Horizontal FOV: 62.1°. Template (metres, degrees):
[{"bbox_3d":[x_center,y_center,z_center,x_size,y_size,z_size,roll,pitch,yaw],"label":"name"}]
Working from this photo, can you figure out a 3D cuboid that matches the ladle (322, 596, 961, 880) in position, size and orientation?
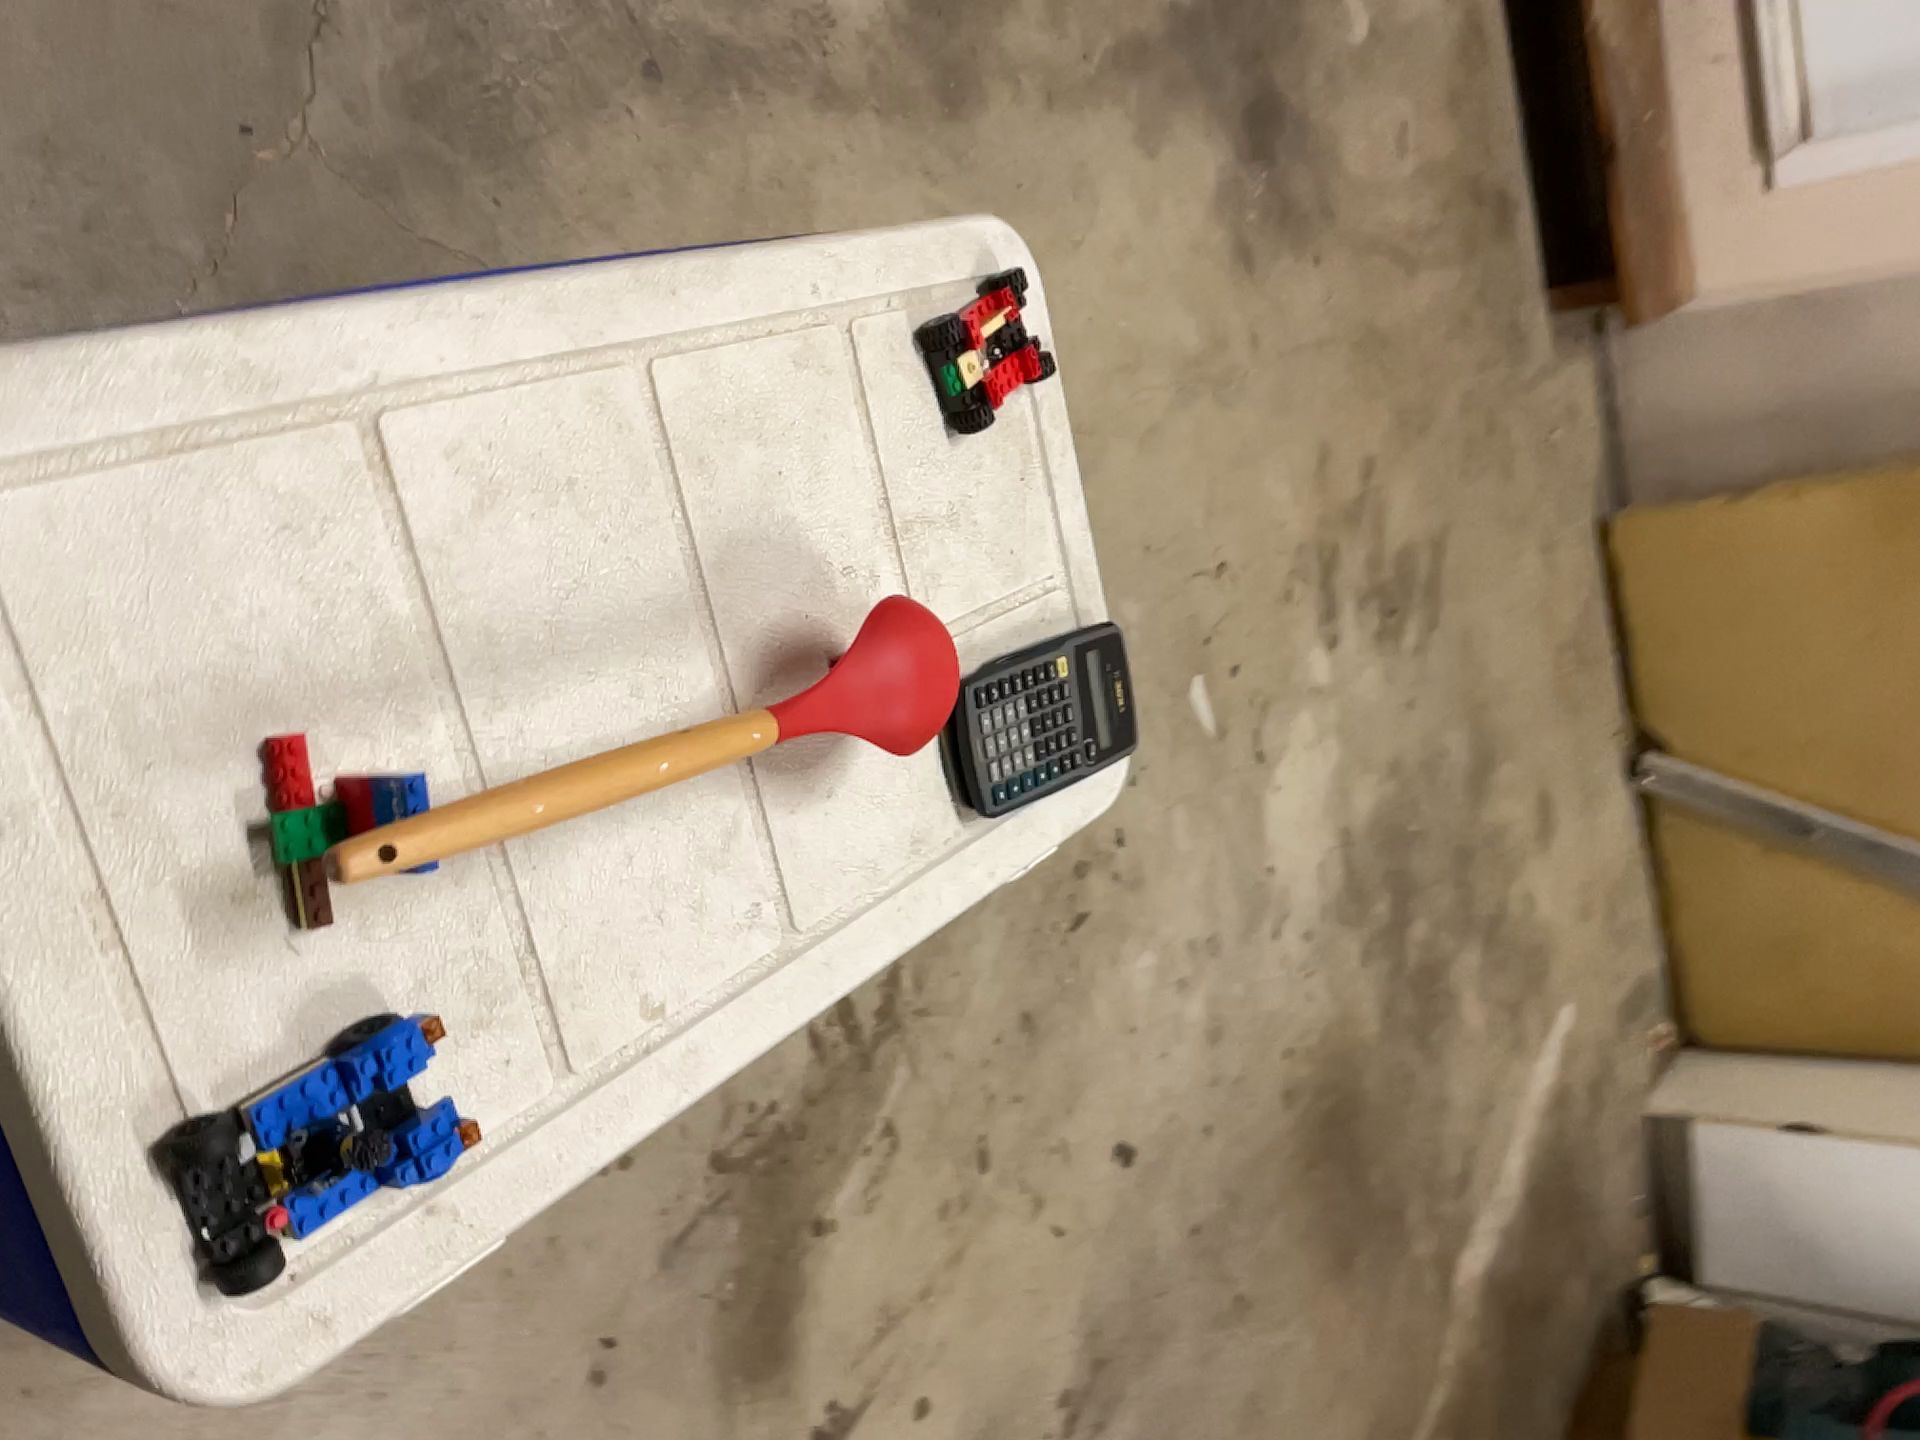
[{"bbox_3d":[-0.092,0.007,0.594,0.315,0.031,0.069,-20,105,-50],"label":"ladle"}]
